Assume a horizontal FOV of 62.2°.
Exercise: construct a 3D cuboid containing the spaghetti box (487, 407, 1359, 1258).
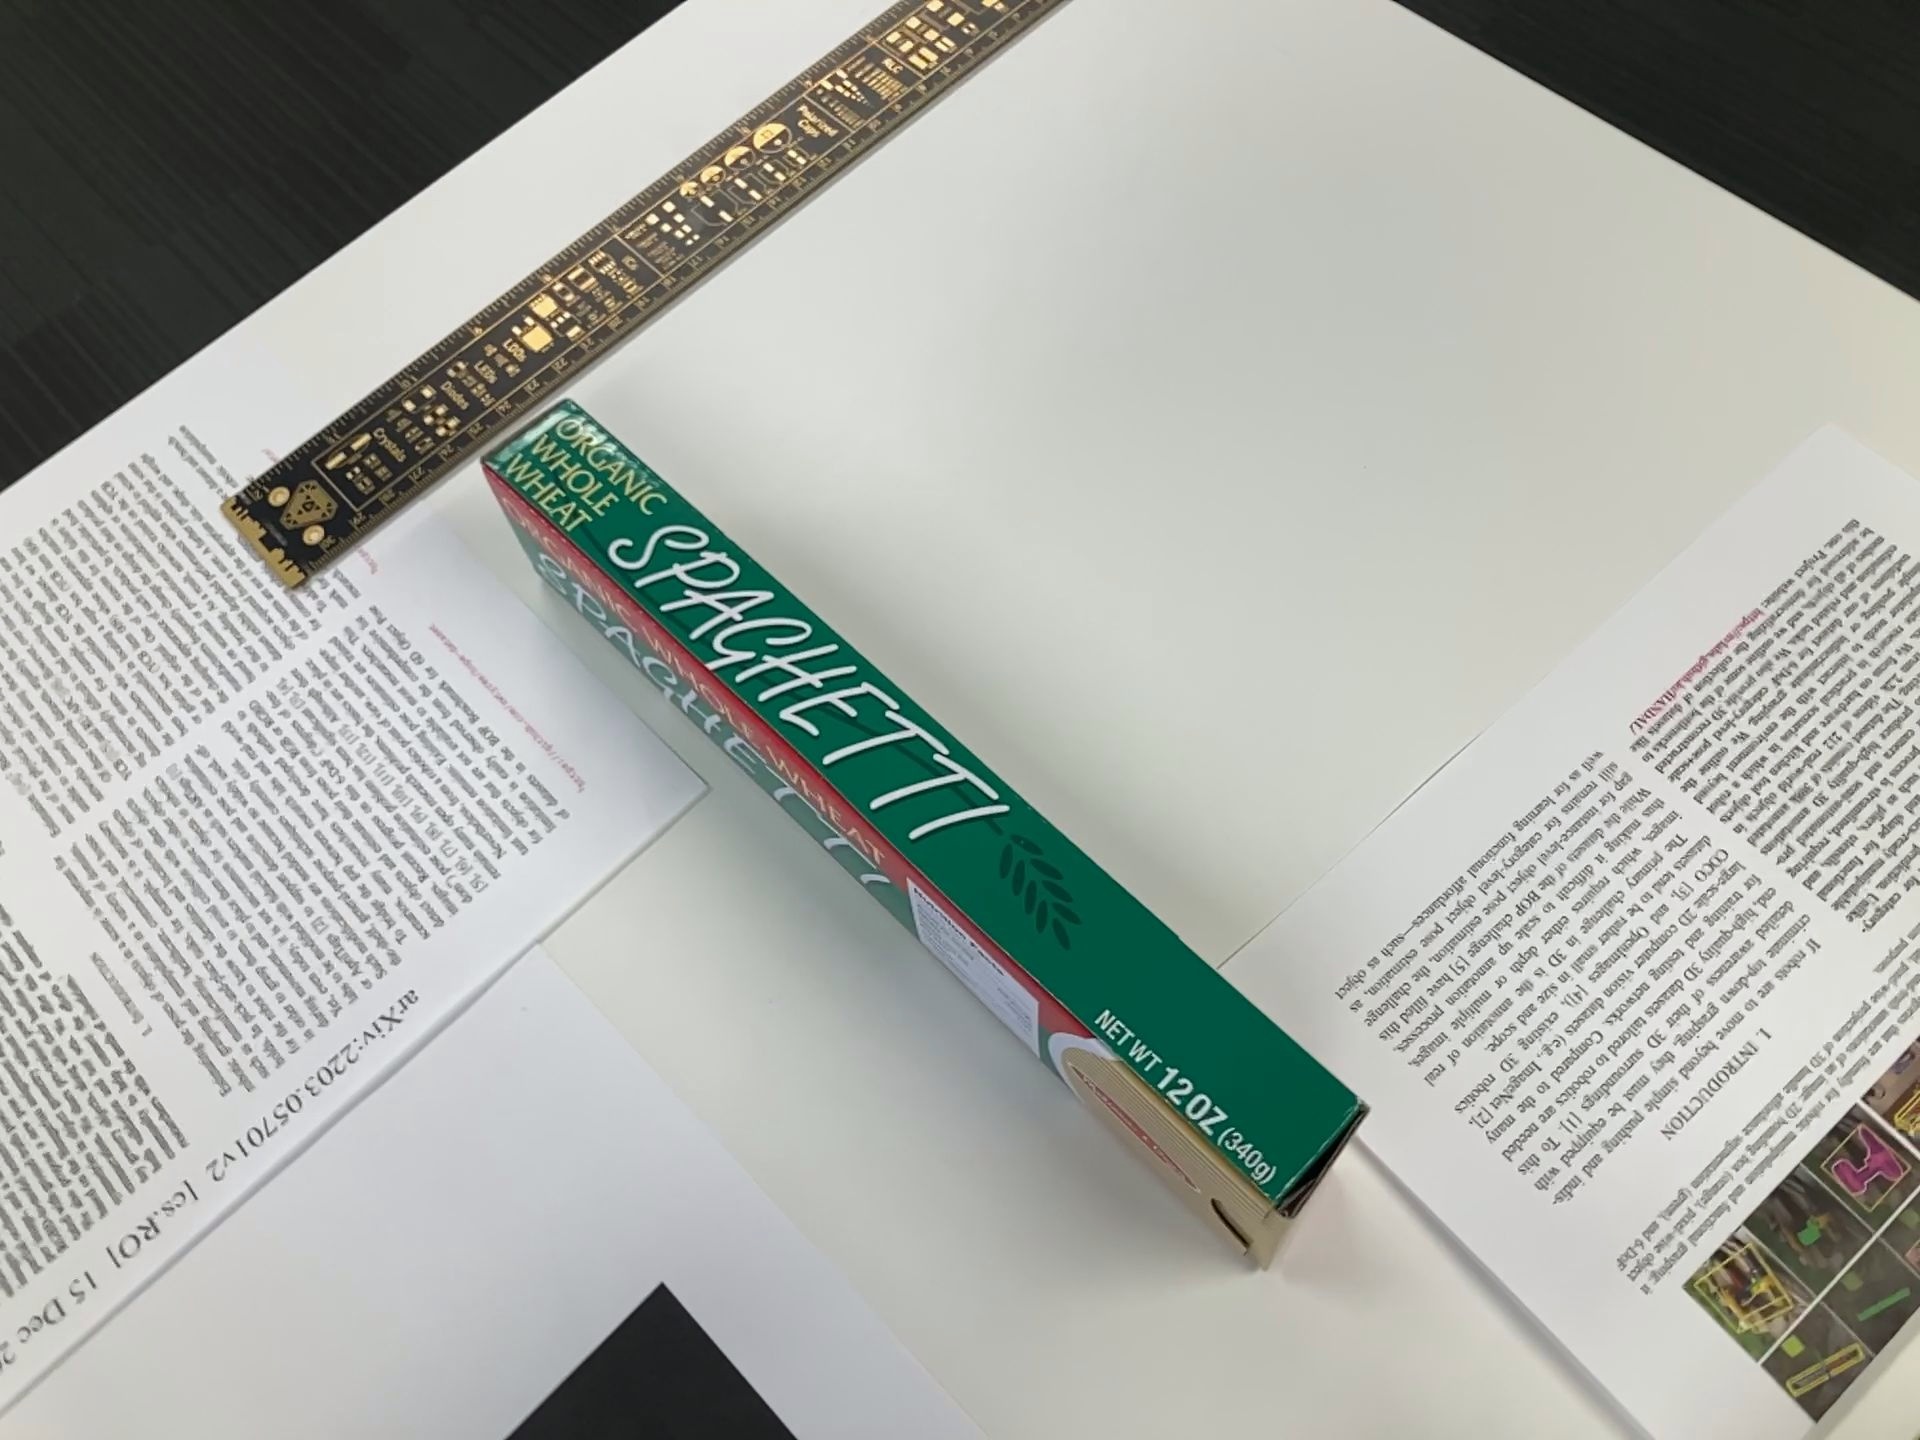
[{"bbox_3d":[-0.019,0.017,0.360,0.028,0.050,0.250,-41,67,-18],"label":"spaghetti box"}]
